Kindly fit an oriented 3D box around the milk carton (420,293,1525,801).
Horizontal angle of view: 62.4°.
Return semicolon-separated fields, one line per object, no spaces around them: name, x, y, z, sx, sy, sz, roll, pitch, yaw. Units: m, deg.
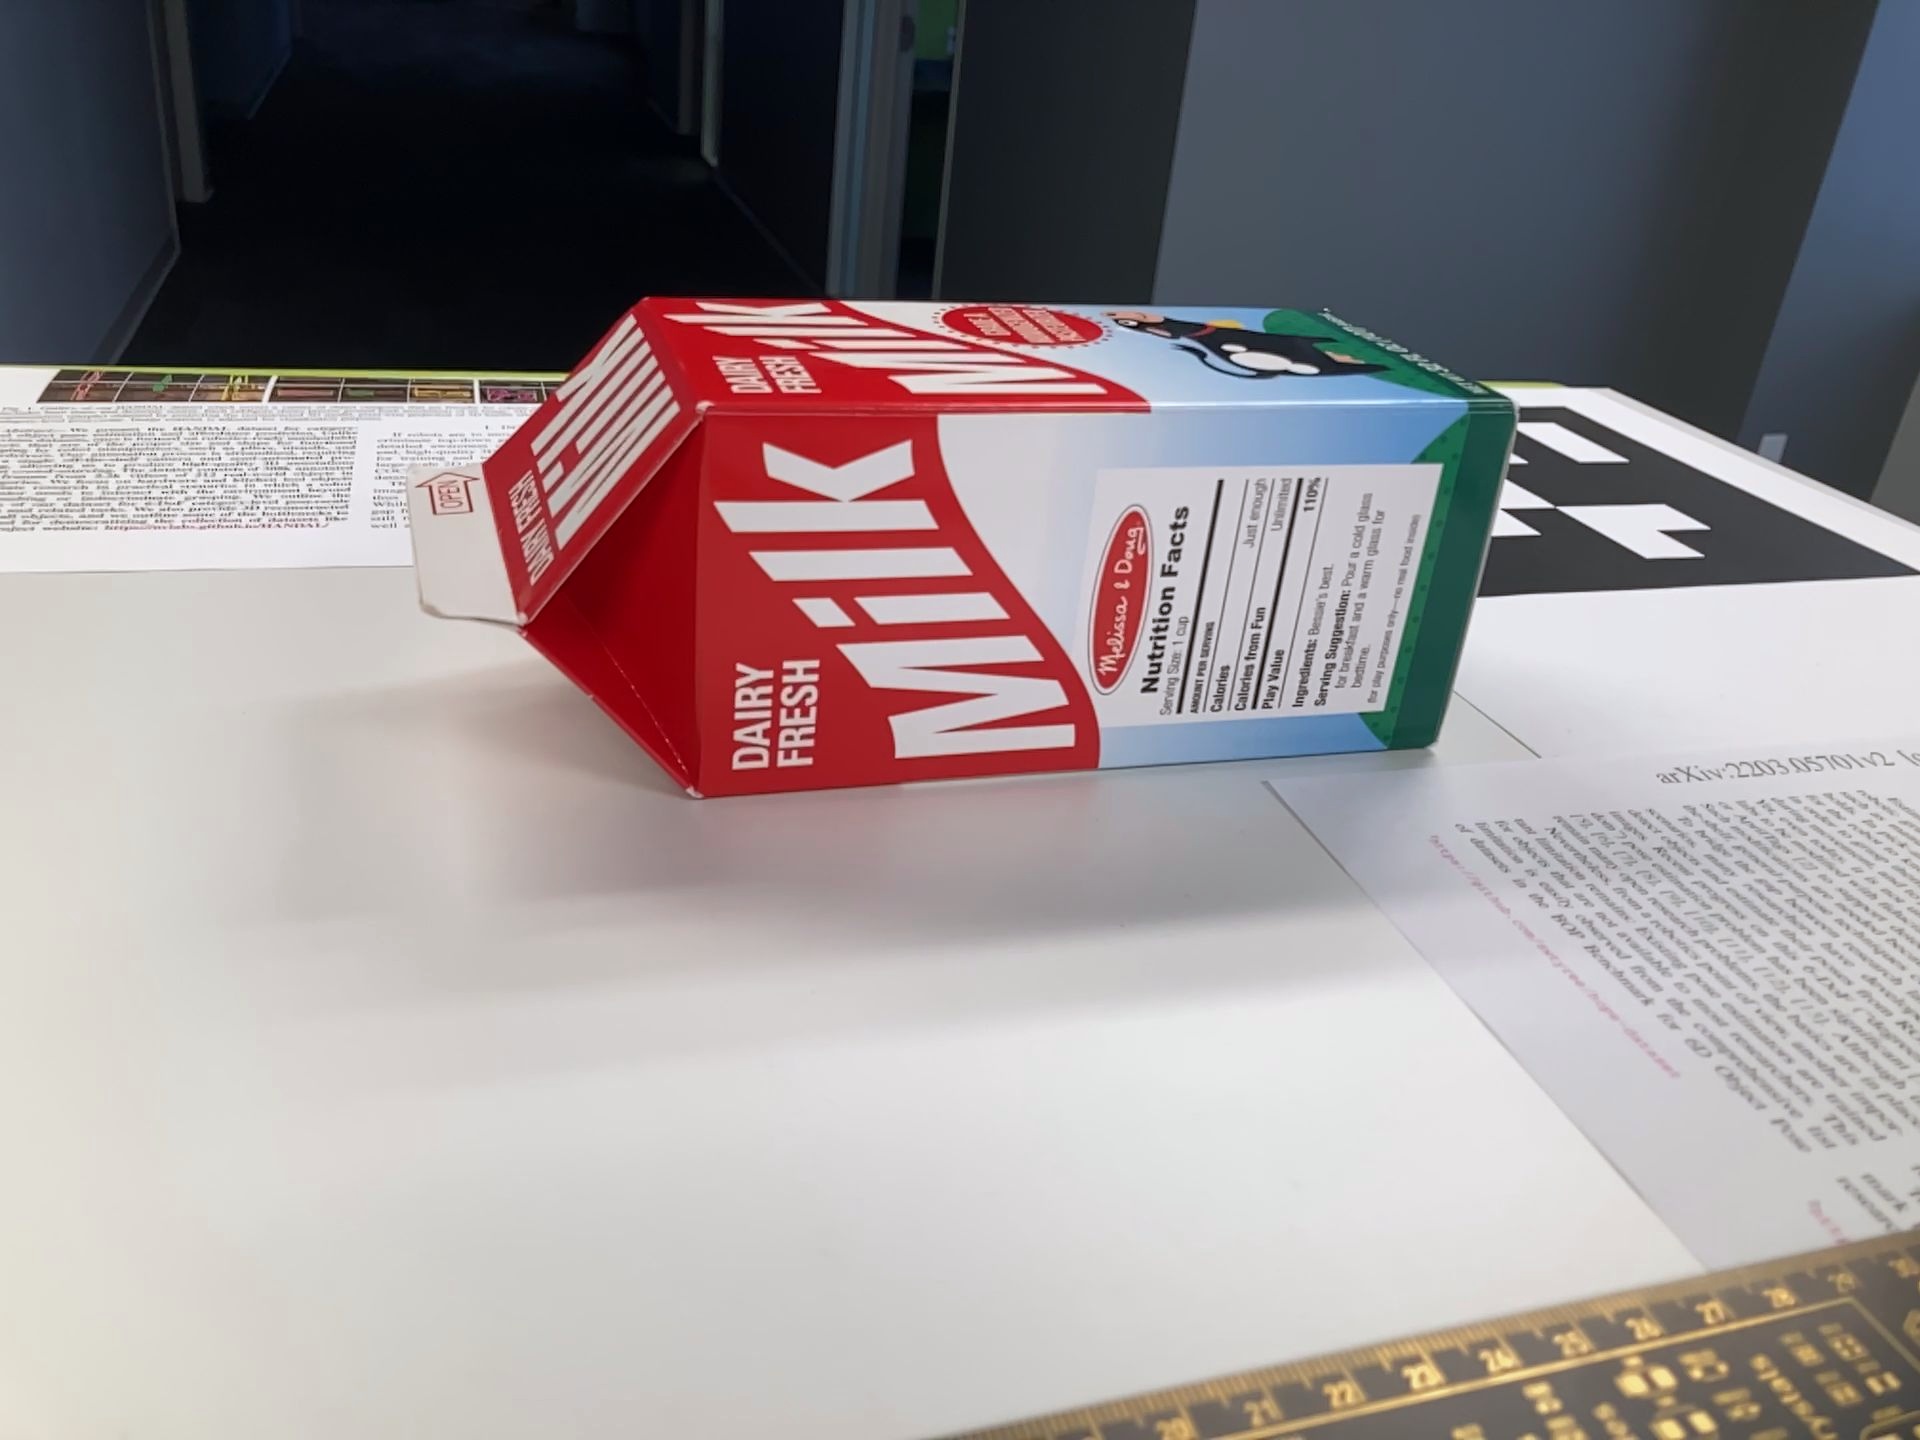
milk carton;-0.001;-0.036;0.300;0.190;0.073;0.072;-4;29;-18
